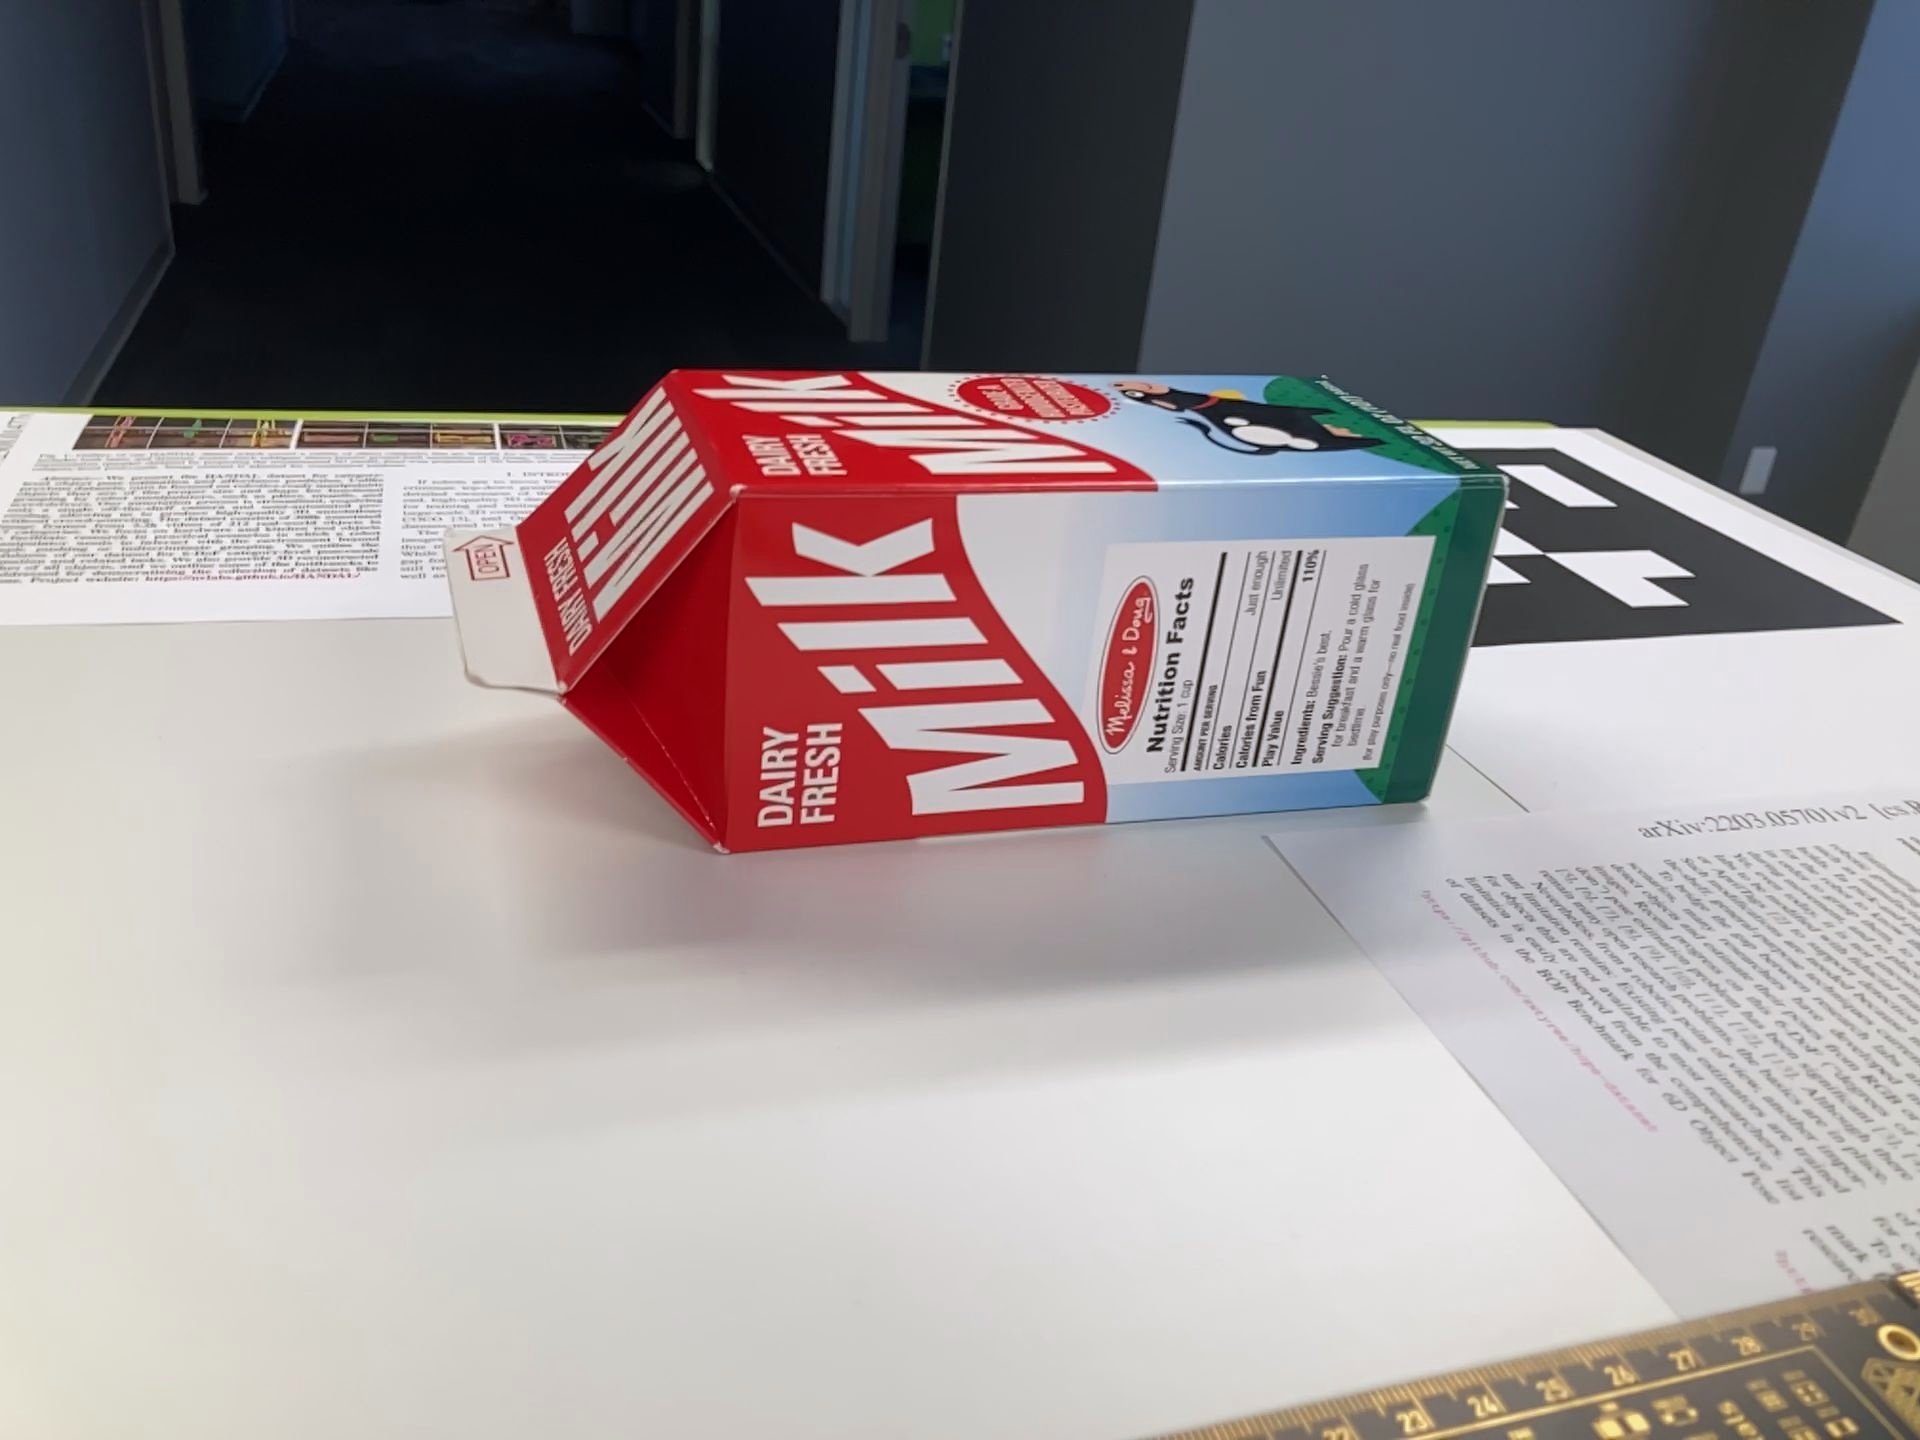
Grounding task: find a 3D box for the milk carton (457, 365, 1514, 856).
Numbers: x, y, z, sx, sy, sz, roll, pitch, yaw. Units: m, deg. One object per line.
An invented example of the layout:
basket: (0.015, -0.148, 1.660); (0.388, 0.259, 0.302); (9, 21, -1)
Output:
milk carton: (0.001, -0.025, 0.314); (0.190, 0.073, 0.072); (-4, 29, -18)
